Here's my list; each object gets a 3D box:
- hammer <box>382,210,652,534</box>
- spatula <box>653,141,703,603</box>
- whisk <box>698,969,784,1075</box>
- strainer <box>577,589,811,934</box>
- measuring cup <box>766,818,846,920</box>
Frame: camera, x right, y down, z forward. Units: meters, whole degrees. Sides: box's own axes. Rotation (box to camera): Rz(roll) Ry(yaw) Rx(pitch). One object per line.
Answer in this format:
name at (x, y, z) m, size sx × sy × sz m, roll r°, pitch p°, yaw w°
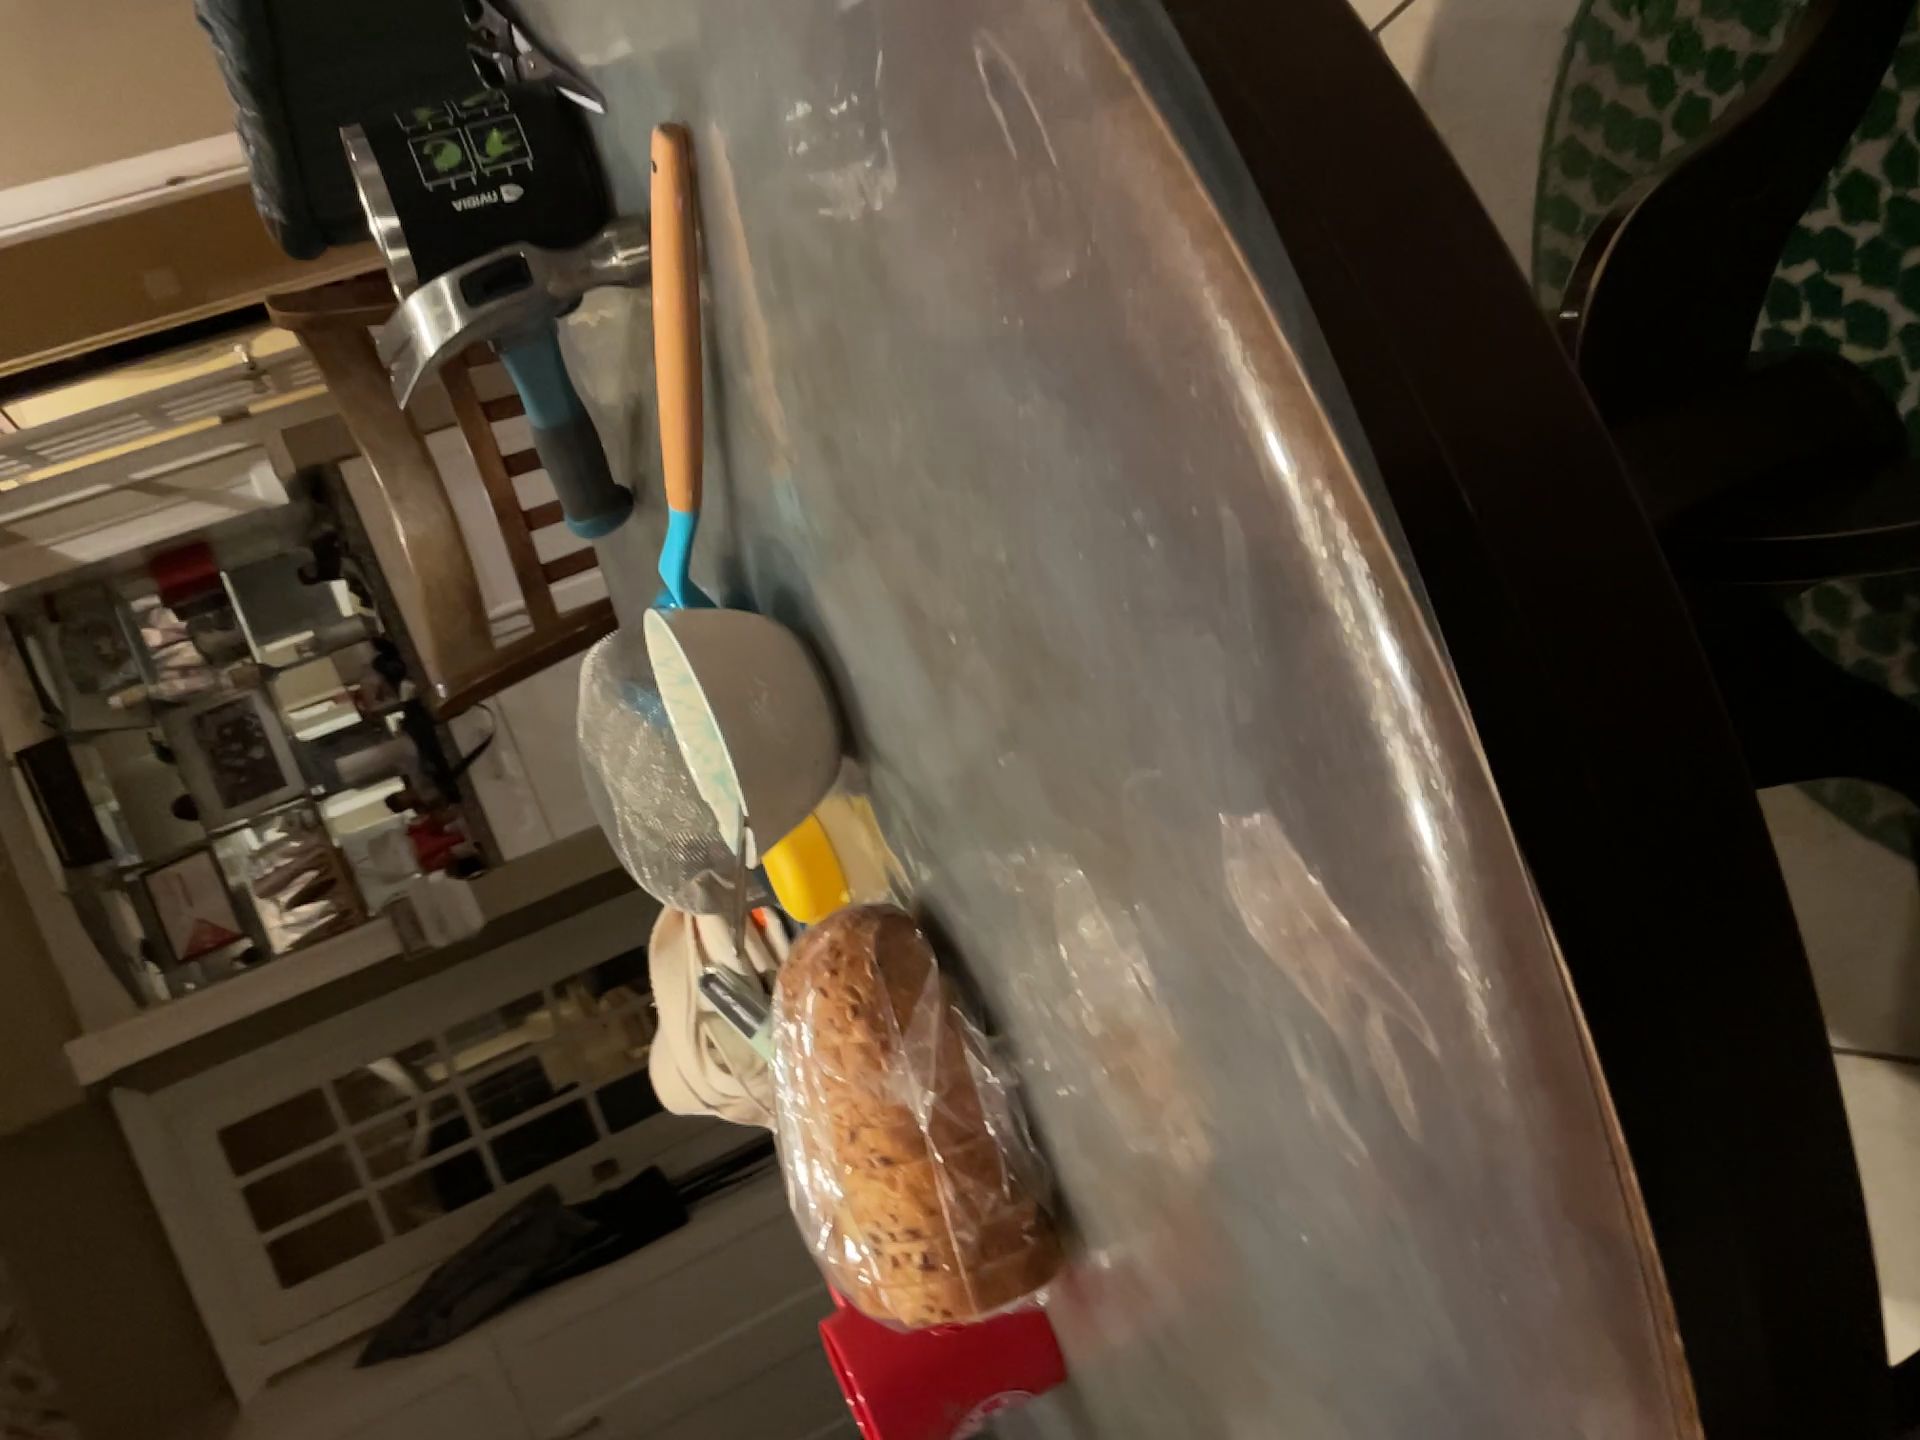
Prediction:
hammer at (-0.205, -0.158, 0.831) m, size 0.331 × 0.128 × 0.033 m, roll 117°, pitch 132°, yaw -79°
spatula at (-0.115, -0.118, 0.721) m, size 0.082 × 0.044 × 0.317 m, roll 58°, pitch 156°, yaw 31°
whisk at (-0.100, 0.206, 0.962) m, size 0.059 × 0.058 × 0.246 m, roll 43°, pitch 170°, yaw -37°
strainer at (-0.201, 0.022, 1.017) m, size 0.340 × 0.095 × 0.211 m, roll 19°, pitch 128°, yaw 62°
measuring cup at (-0.084, 0.114, 0.884) m, size 0.062 × 0.029 × 0.156 m, roll 53°, pitch 156°, yaw 40°
